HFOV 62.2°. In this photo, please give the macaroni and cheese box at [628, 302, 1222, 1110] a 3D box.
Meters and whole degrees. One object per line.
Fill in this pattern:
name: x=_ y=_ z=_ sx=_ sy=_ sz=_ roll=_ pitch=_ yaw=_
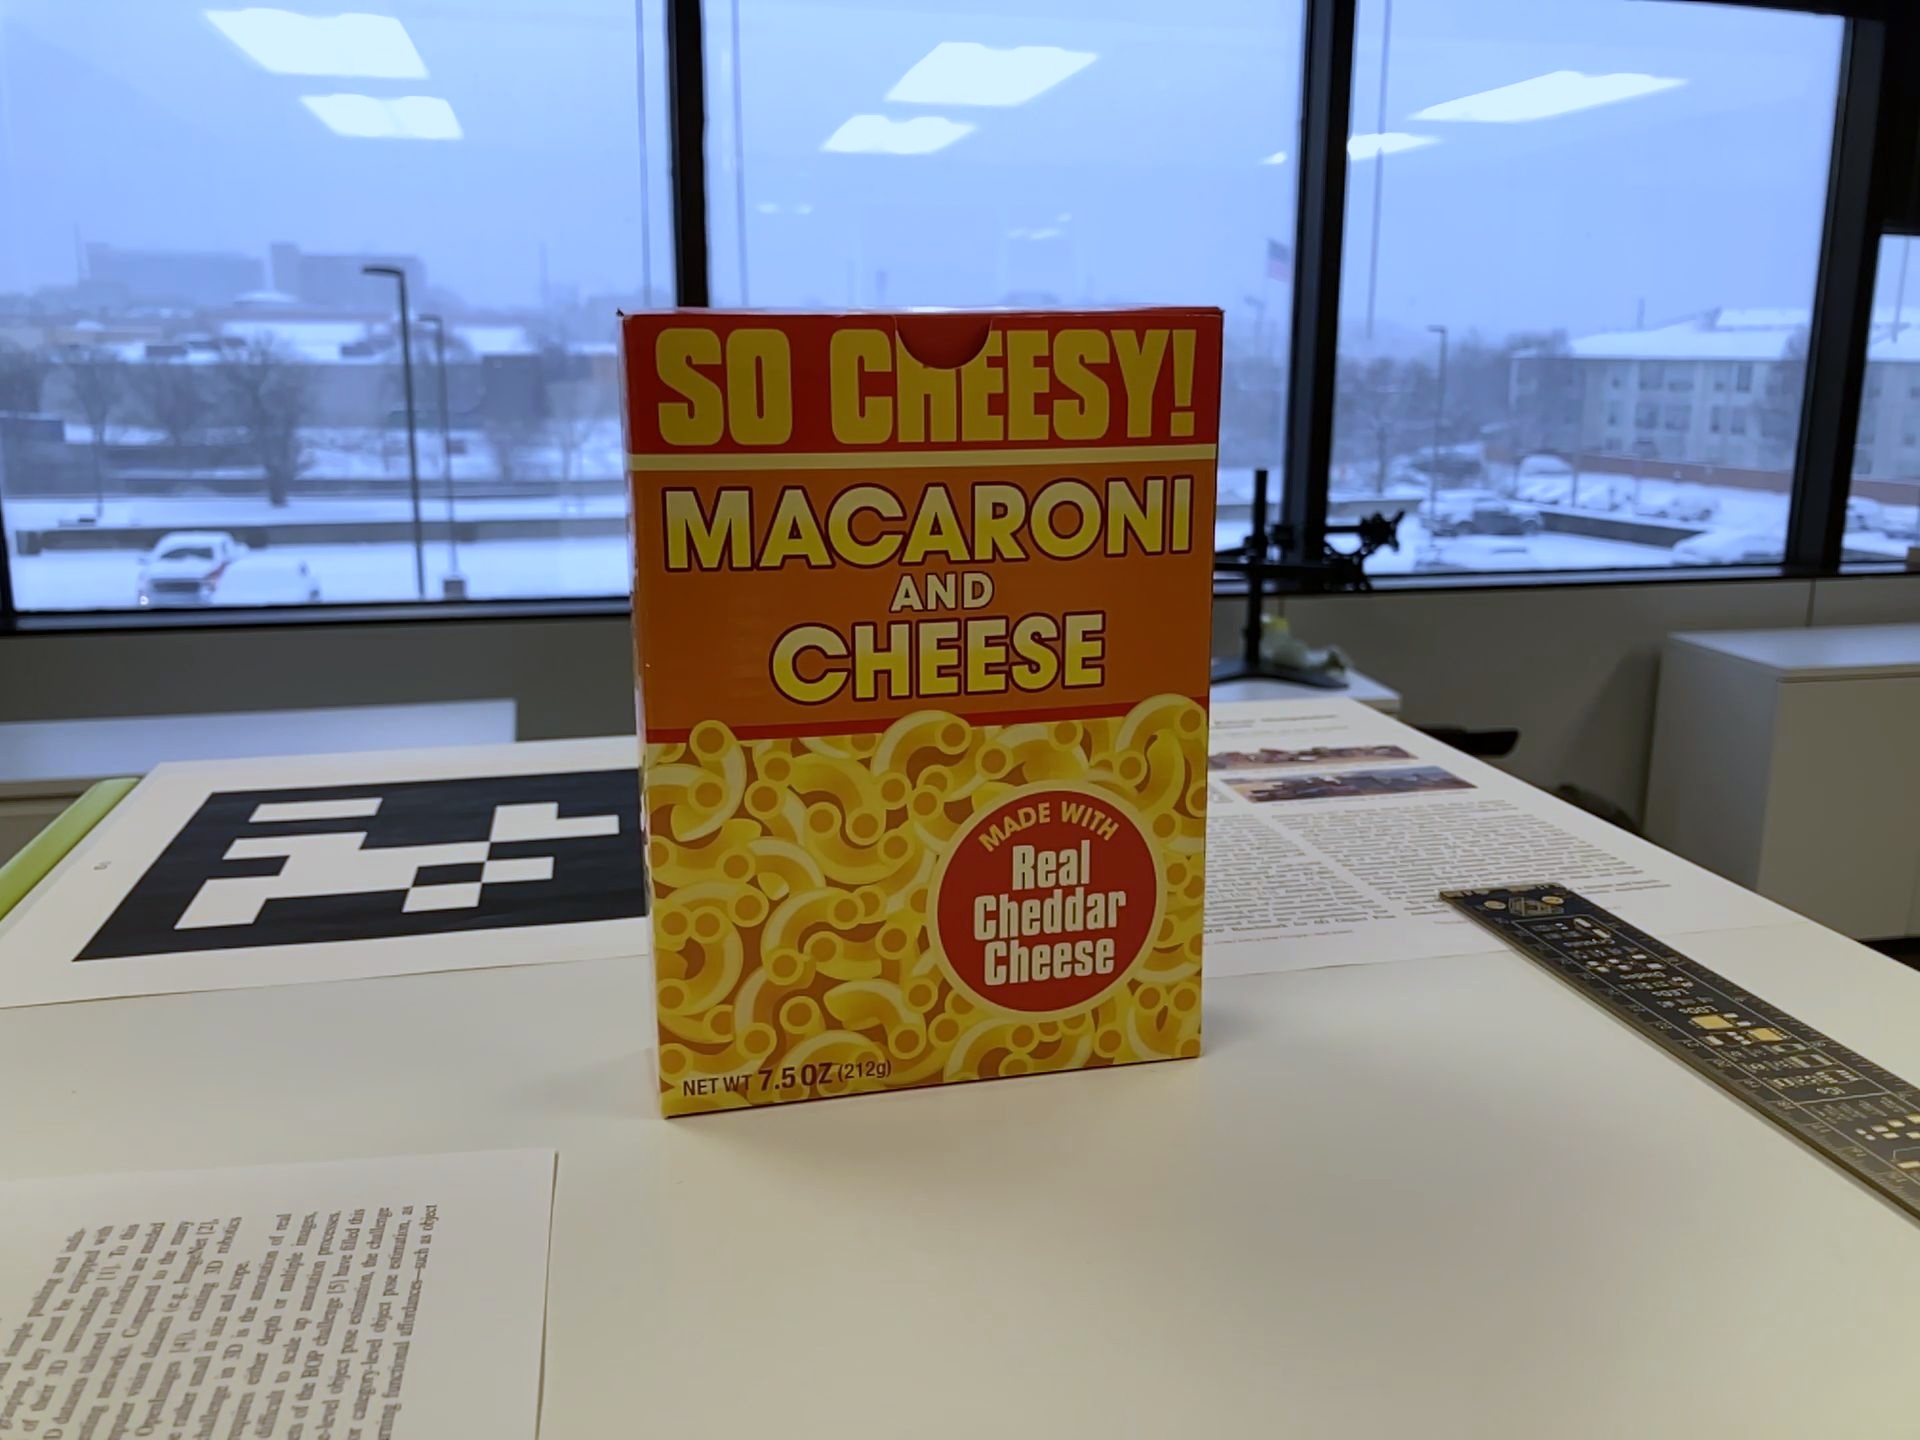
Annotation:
macaroni and cheese box: x=-0.007 y=-0.005 z=0.350 sx=0.124 sy=0.166 sz=0.040 roll=-3 pitch=13 yaw=-15
